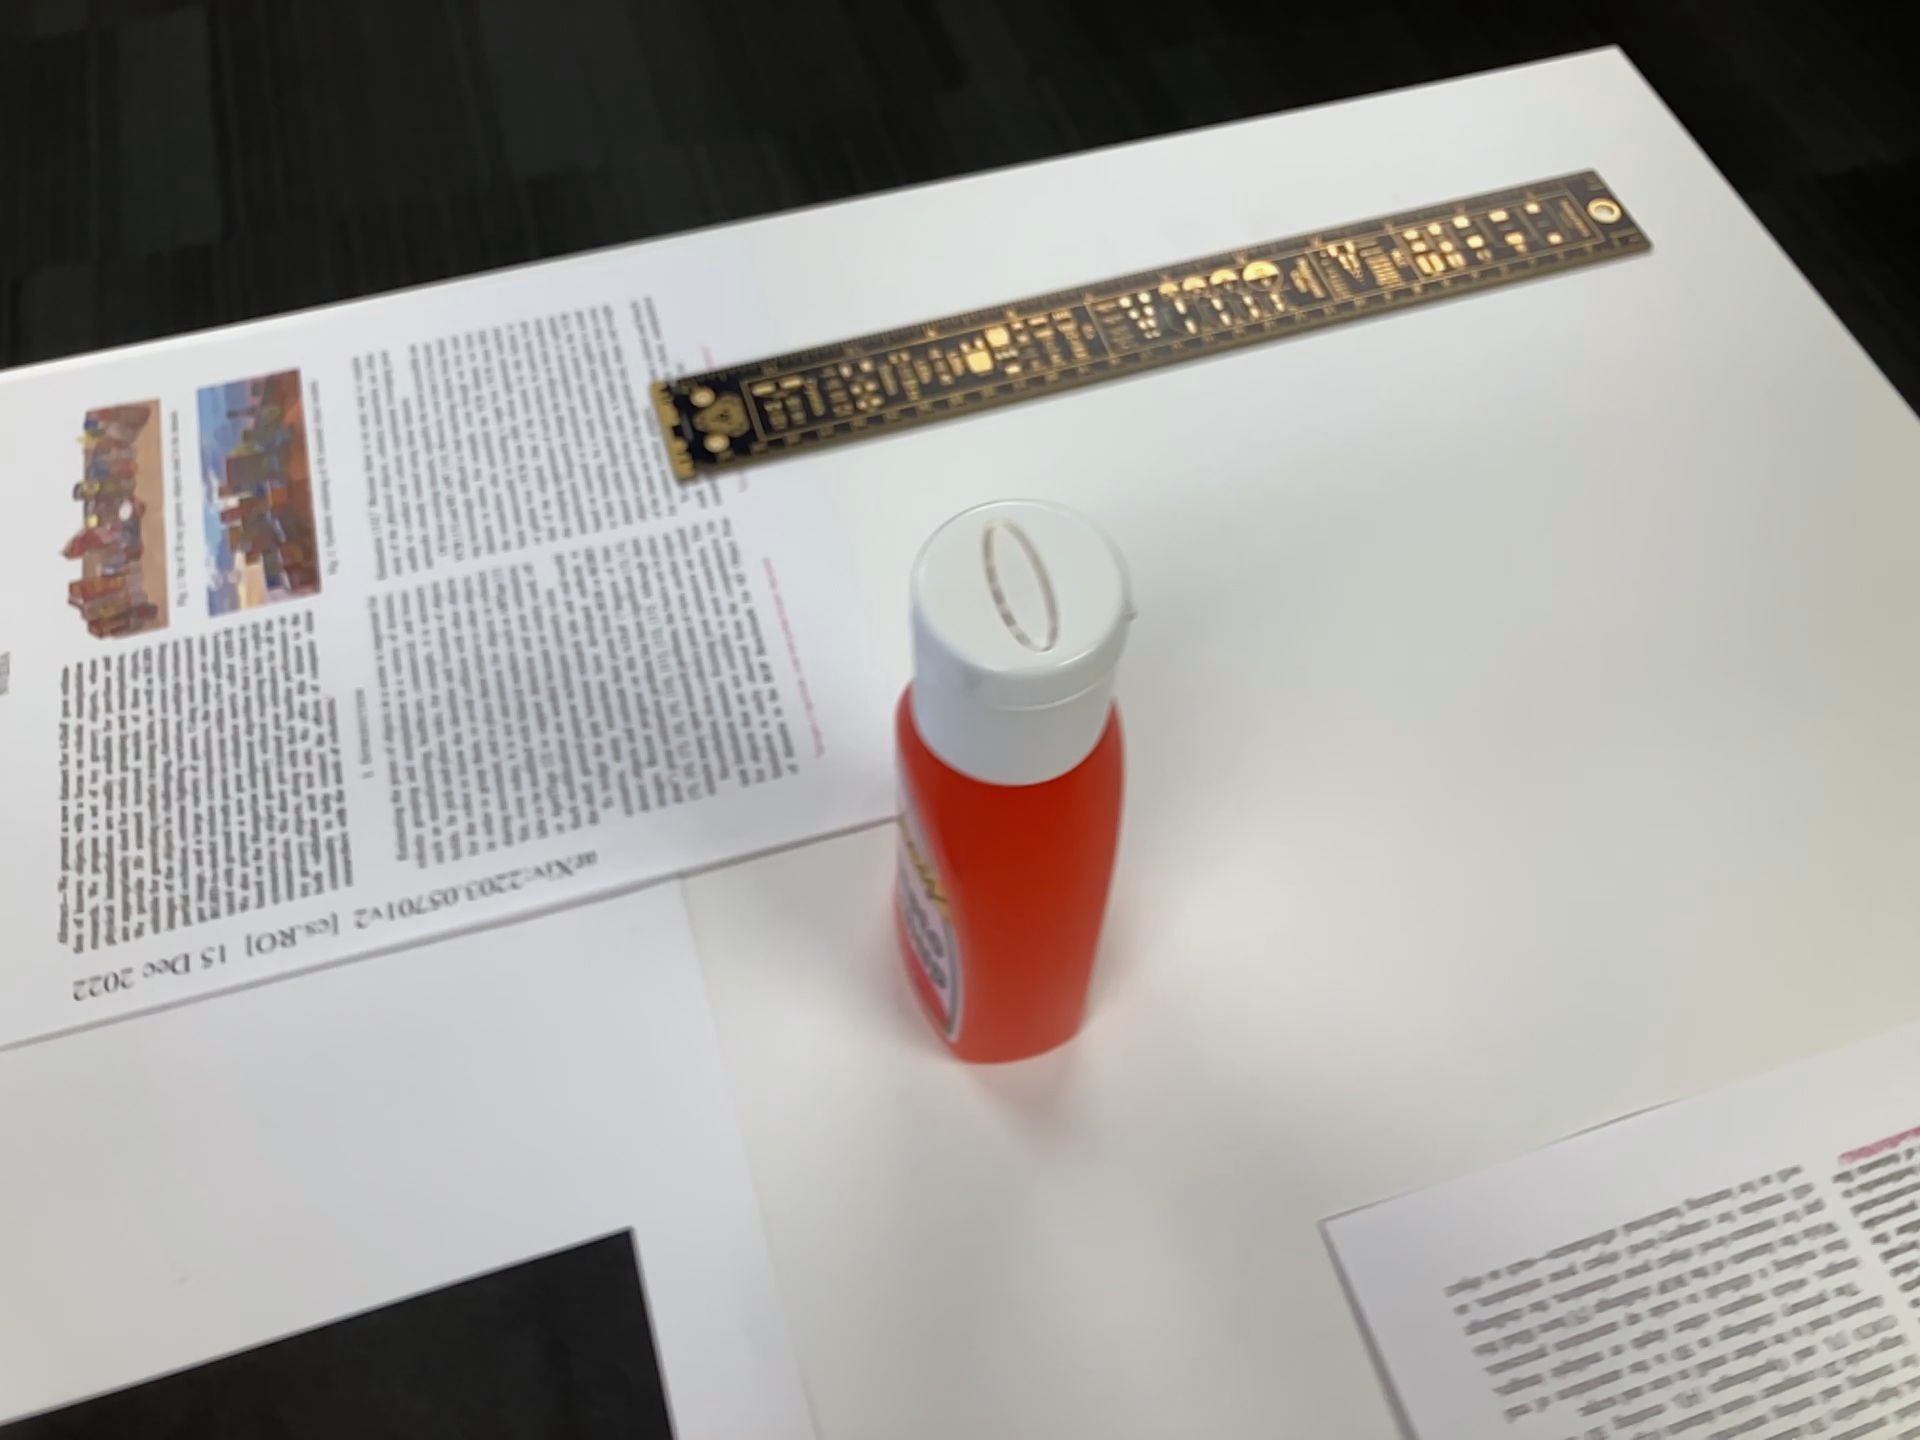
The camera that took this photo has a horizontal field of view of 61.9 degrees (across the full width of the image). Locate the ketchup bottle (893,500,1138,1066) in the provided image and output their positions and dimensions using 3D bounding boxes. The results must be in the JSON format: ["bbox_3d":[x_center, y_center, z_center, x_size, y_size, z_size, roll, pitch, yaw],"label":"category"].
[{"bbox_3d":[0.009,0.016,0.324,0.043,0.149,0.065,-13,59,-9],"label":"ketchup bottle"}]
